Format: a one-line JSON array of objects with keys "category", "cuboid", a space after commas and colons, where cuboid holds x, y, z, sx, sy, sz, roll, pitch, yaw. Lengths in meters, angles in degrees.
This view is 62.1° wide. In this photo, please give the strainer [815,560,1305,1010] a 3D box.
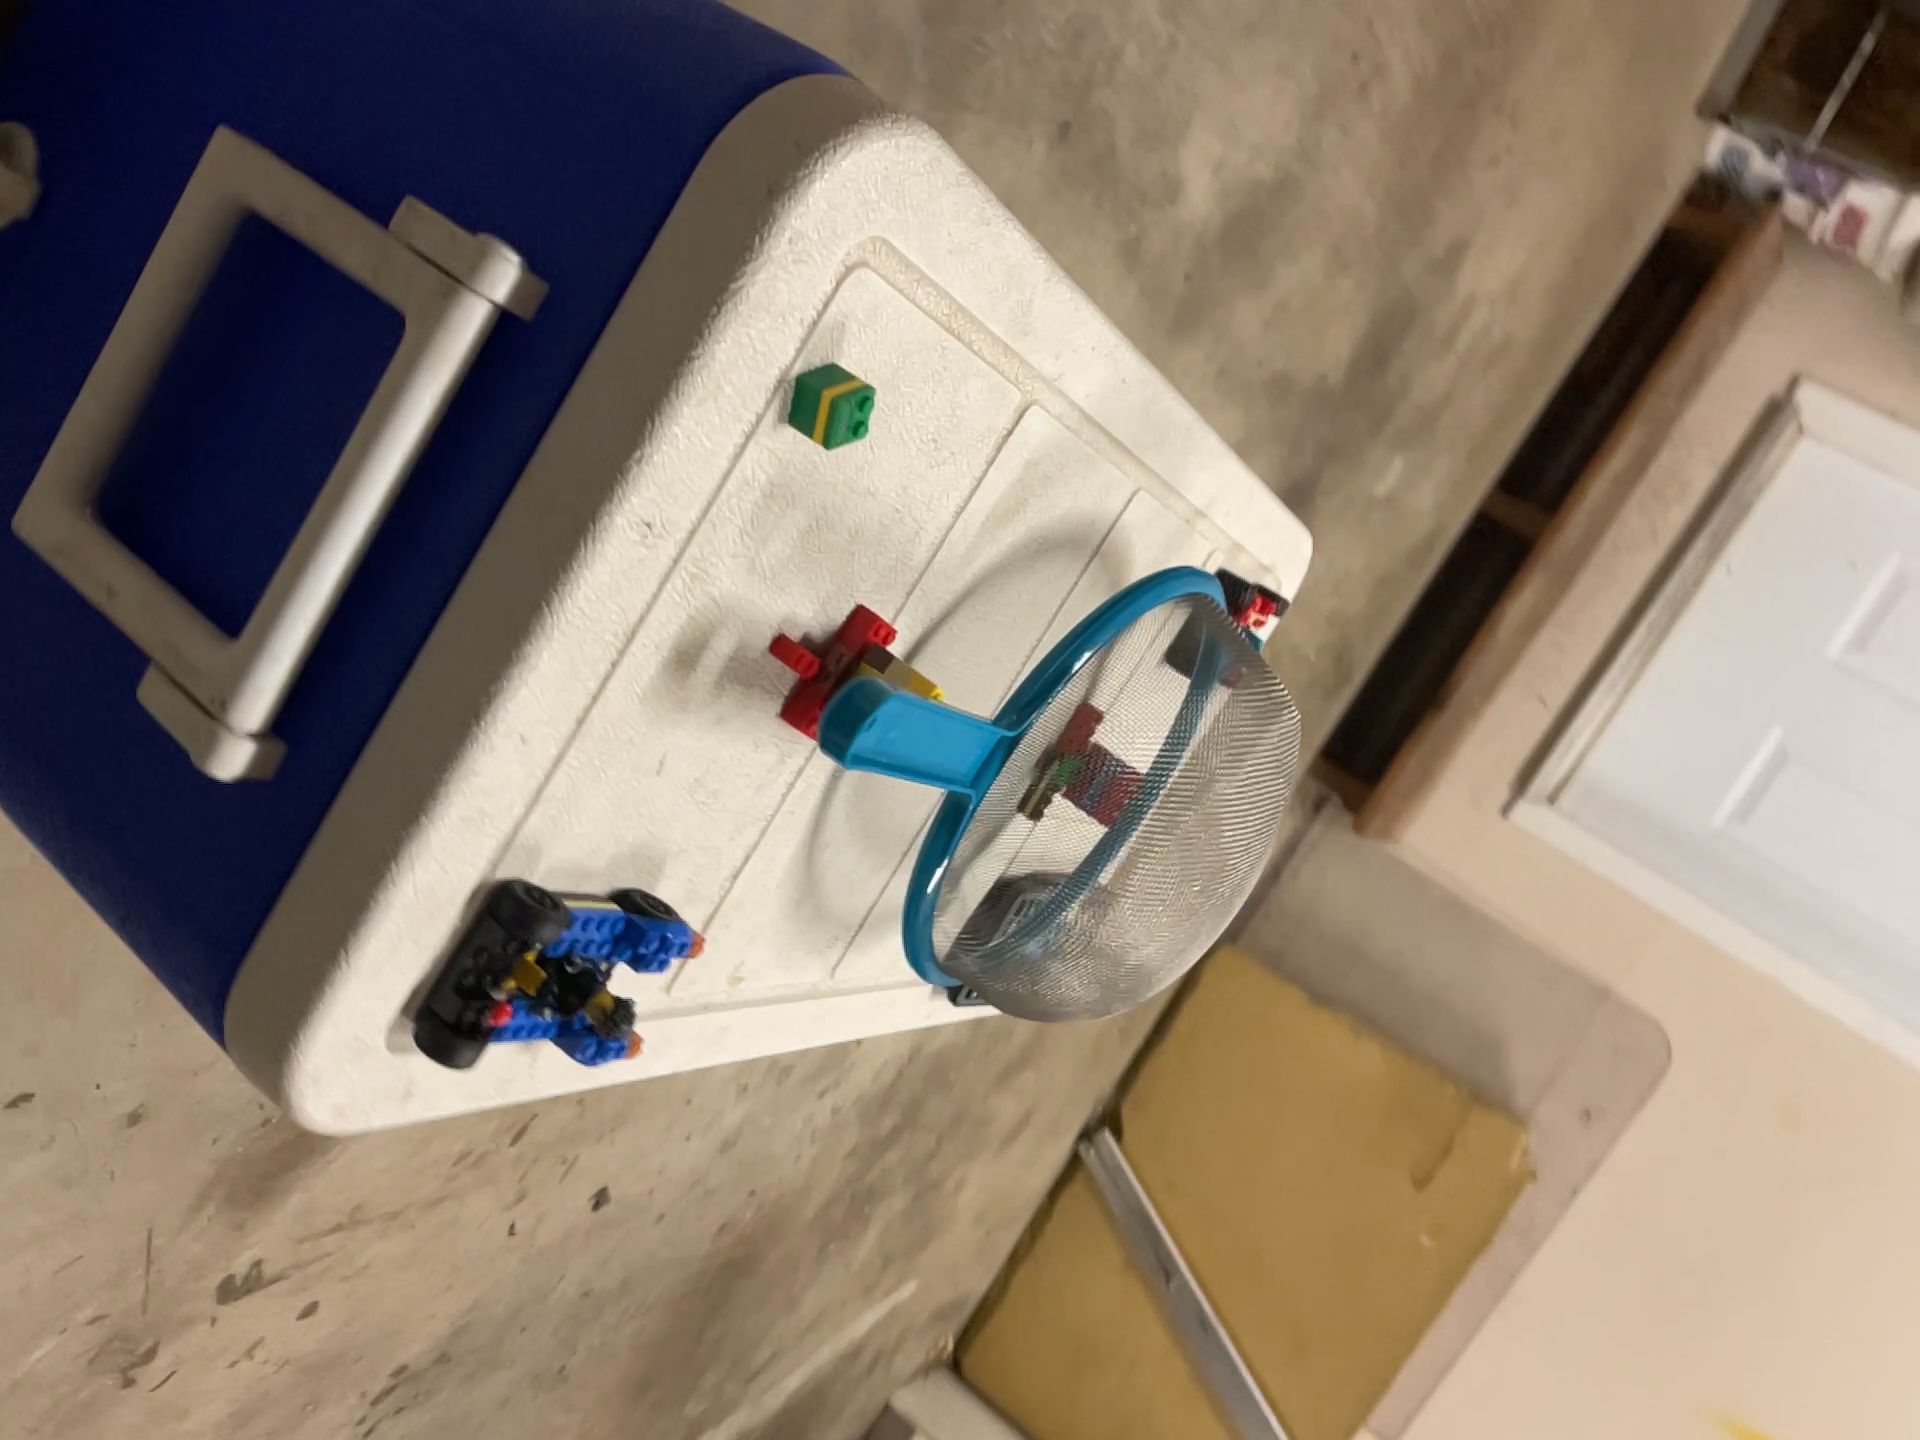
[{"category": "strainer", "cuboid": [0.055, 0.038, 0.603, 0.211, 0.095, 0.340, -57, 158, 6]}]
